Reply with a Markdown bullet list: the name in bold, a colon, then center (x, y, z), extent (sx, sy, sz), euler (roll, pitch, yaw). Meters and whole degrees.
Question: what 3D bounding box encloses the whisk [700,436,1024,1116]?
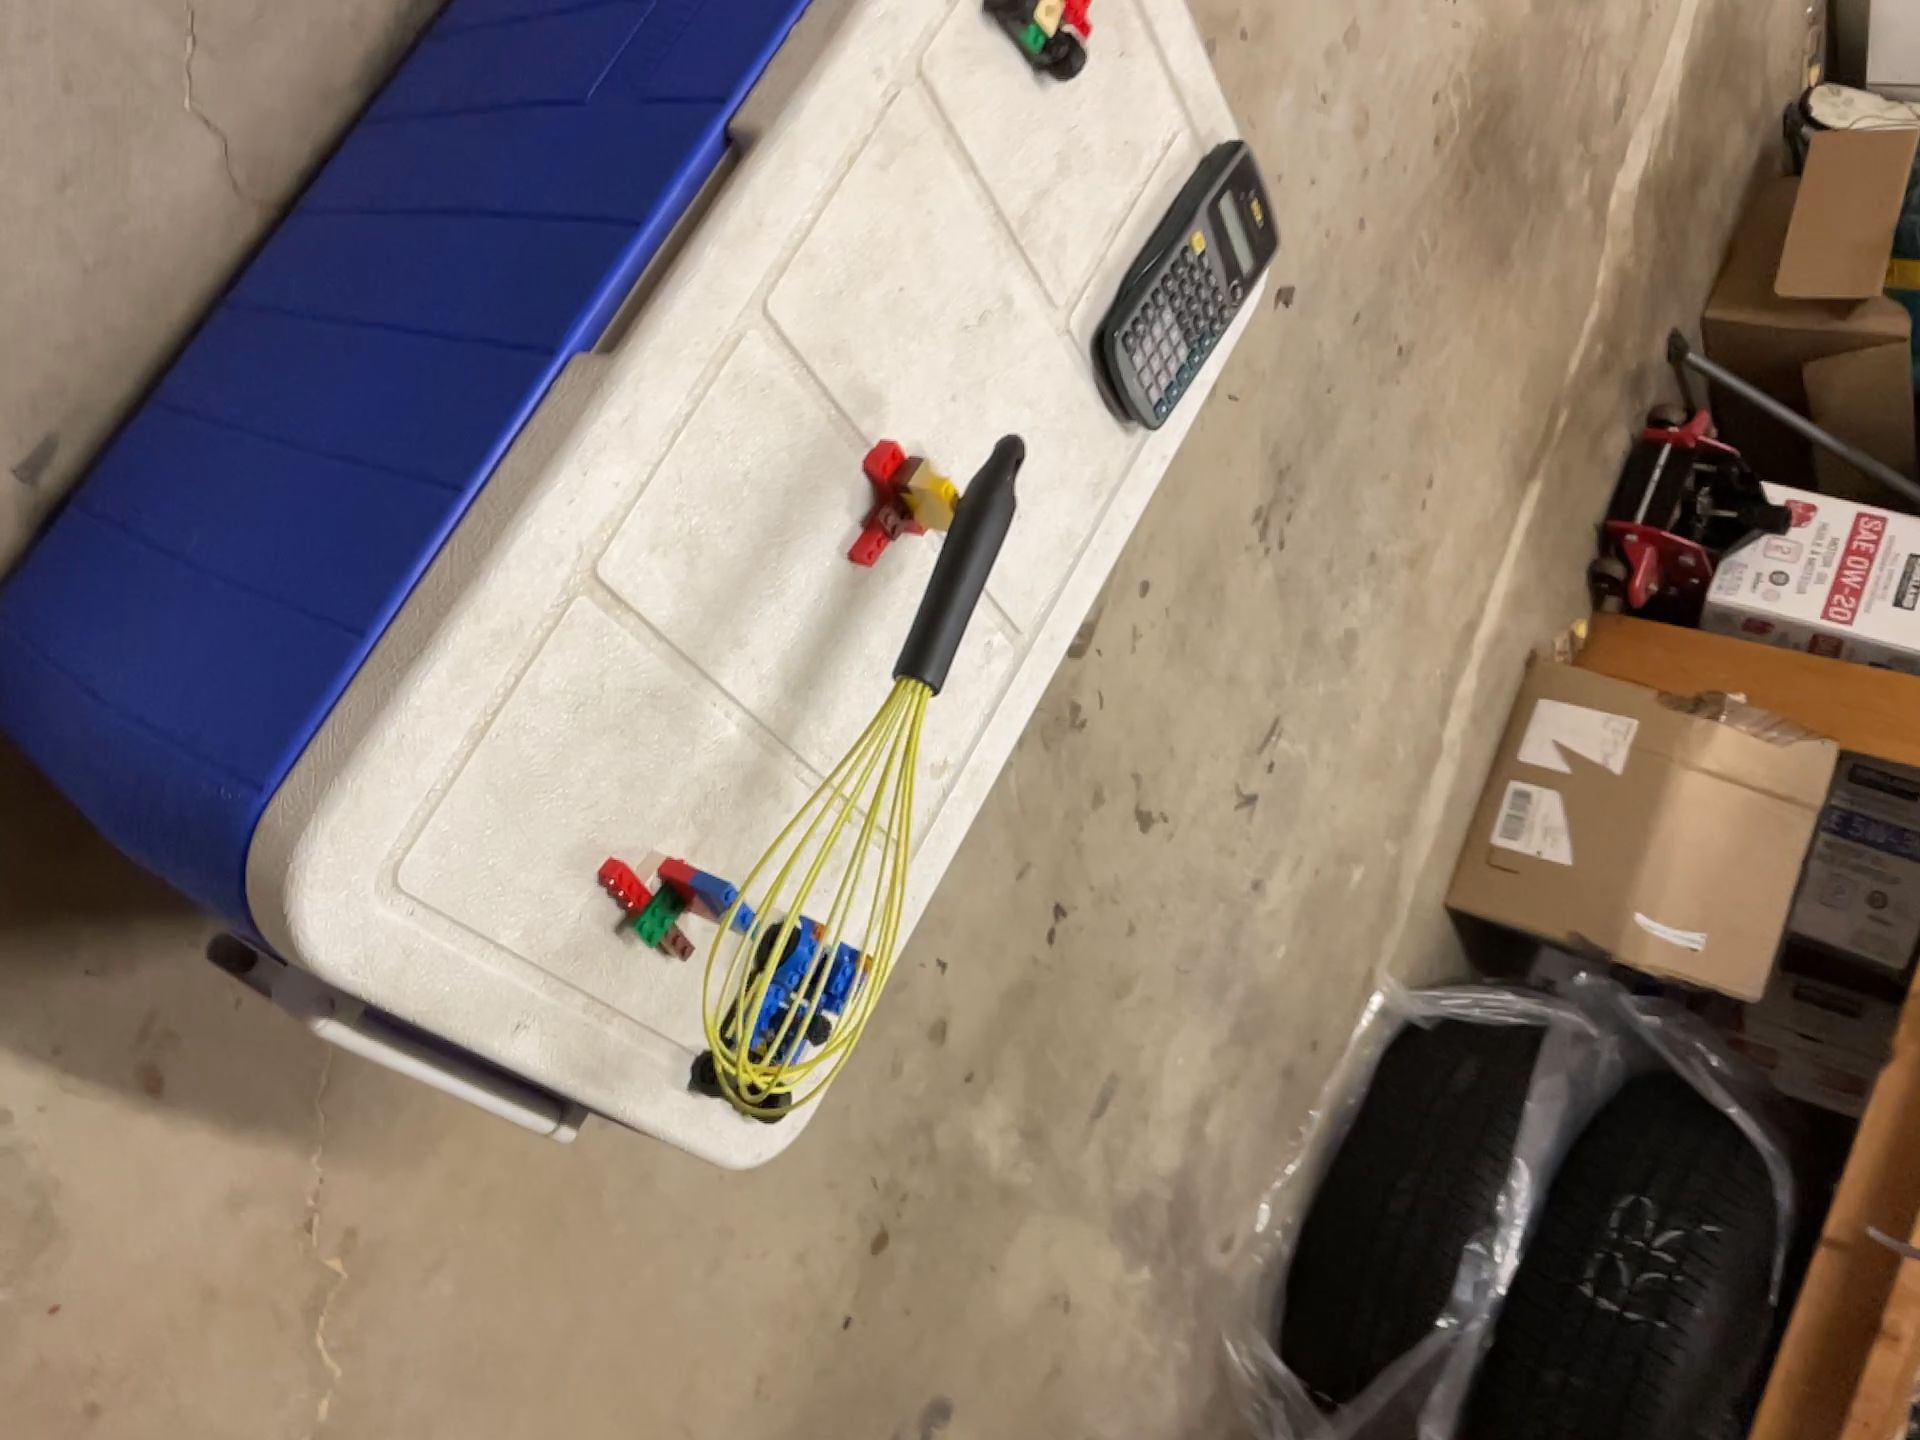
- **whisk**: center (-0.031, 0.011, 0.661), extent (0.312, 0.067, 0.080), euler (-69, -170, -18)
